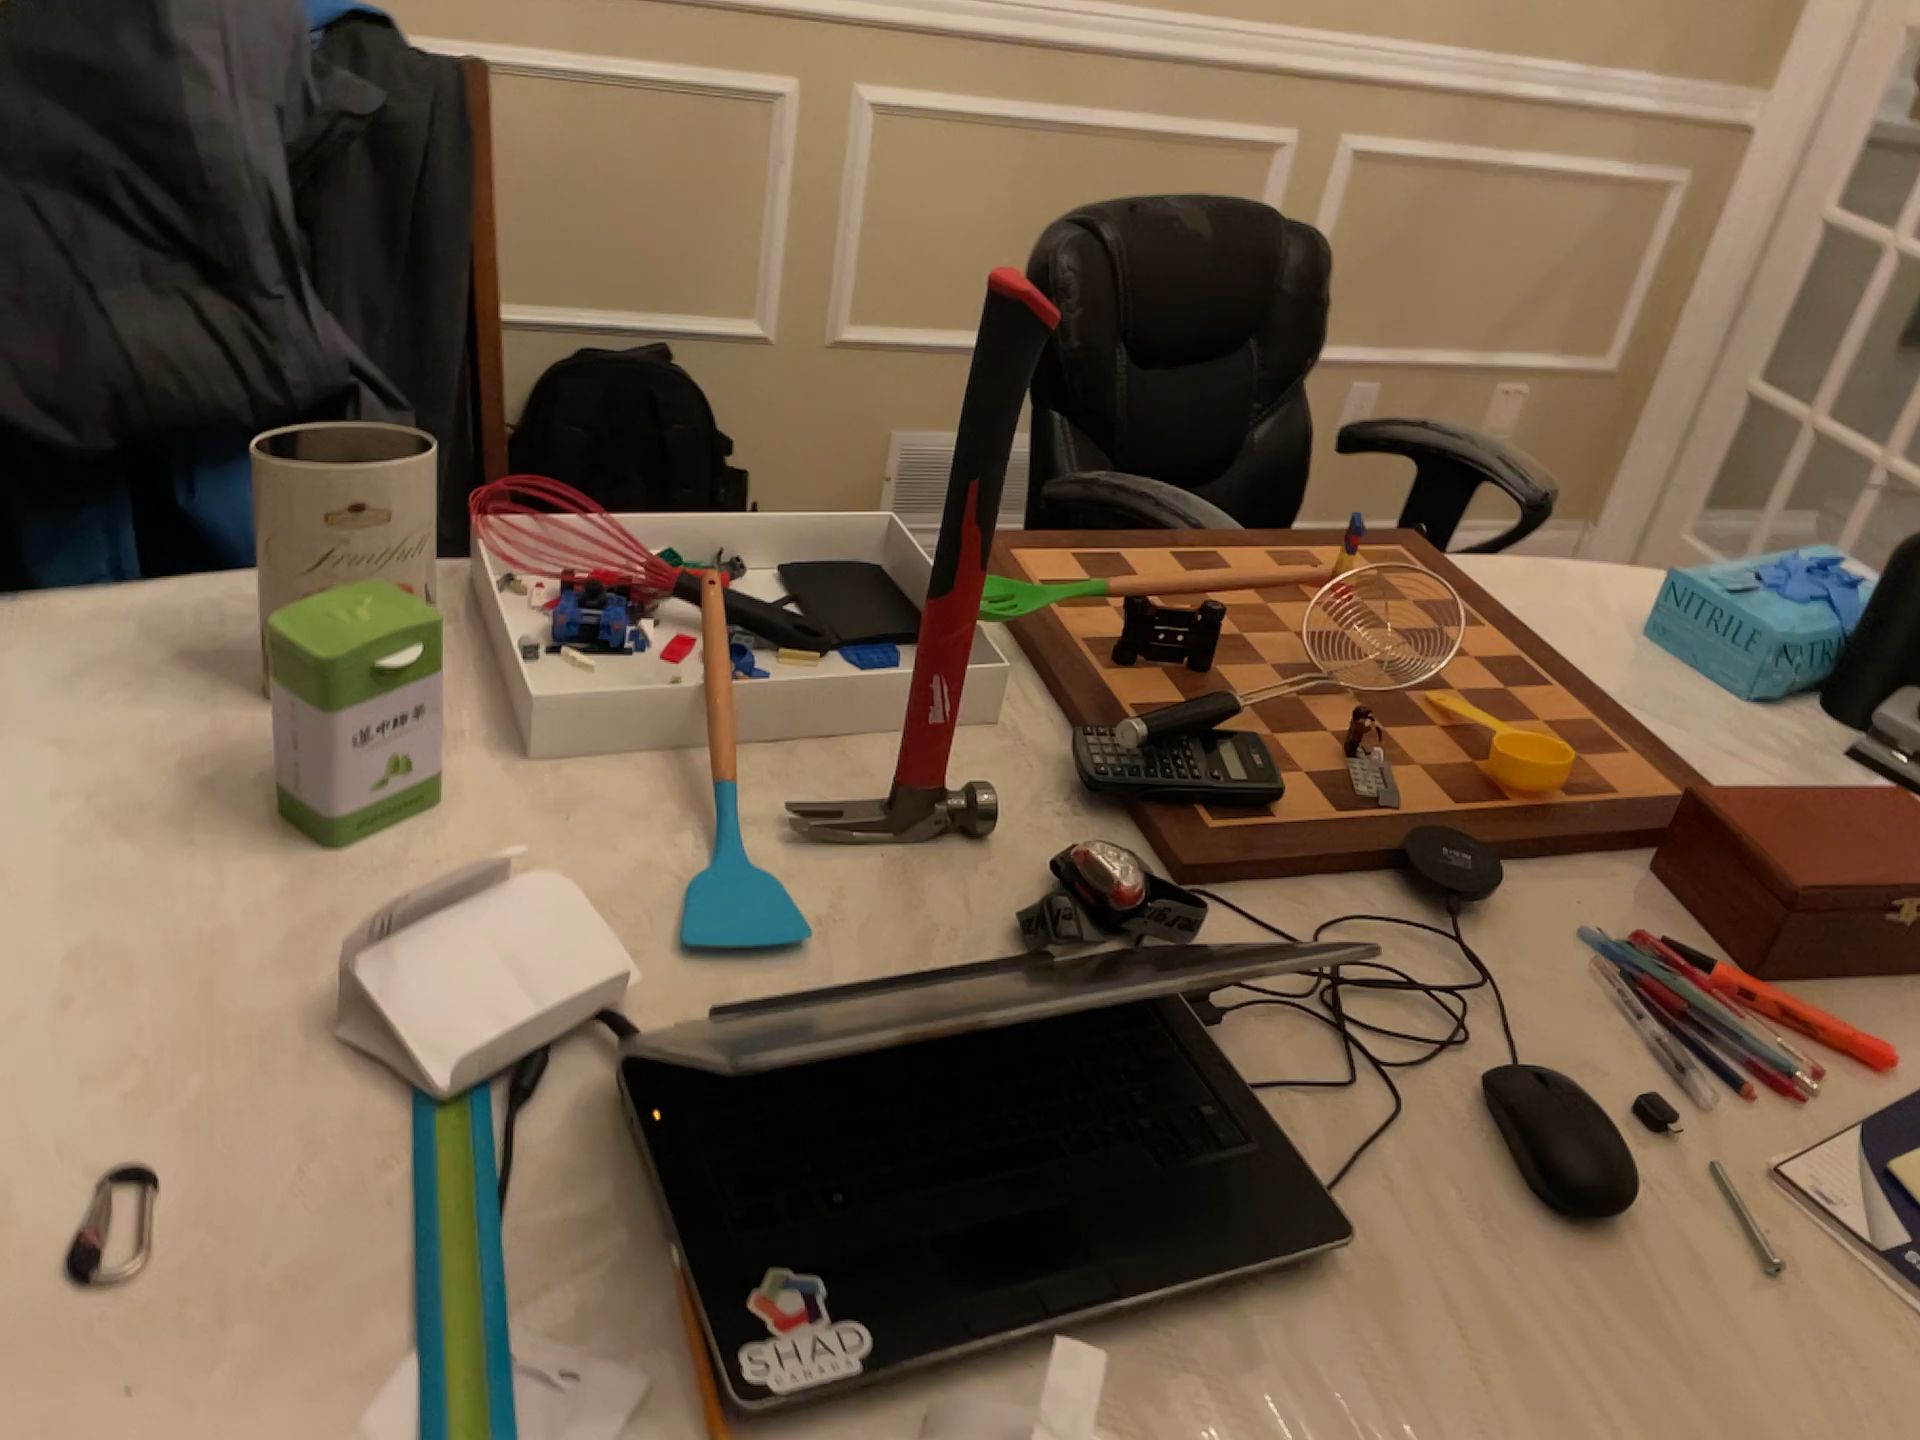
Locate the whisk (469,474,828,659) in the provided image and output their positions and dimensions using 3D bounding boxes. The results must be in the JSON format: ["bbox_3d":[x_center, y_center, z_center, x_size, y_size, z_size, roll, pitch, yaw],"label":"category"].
[{"bbox_3d":[-0.240,-0.114,1.235,0.295,0.073,0.073,23,50,-6],"label":"whisk"}]

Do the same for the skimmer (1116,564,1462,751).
[{"bbox_3d":[0.254,-0.049,1.227,0.362,0.090,0.128,-15,42,-42],"label":"skimmer"}]

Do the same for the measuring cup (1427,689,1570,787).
[{"bbox_3d":[0.418,0.013,1.260,0.062,0.029,0.157,-5,23,-19],"label":"measuring cup"}]

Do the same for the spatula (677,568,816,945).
[{"bbox_3d":[-0.154,0.016,1.045,0.082,0.044,0.318,0,54,-15],"label":"spatula"}]

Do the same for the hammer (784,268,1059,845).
[{"bbox_3d":[-0.017,-0.084,0.974,0.143,0.386,0.038,-1,34,-18],"label":"hammer"}]

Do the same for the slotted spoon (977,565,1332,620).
[{"bbox_3d":[0.142,-0.106,1.258,0.313,0.031,0.070,-4,32,-7],"label":"slotted spoon"}]
